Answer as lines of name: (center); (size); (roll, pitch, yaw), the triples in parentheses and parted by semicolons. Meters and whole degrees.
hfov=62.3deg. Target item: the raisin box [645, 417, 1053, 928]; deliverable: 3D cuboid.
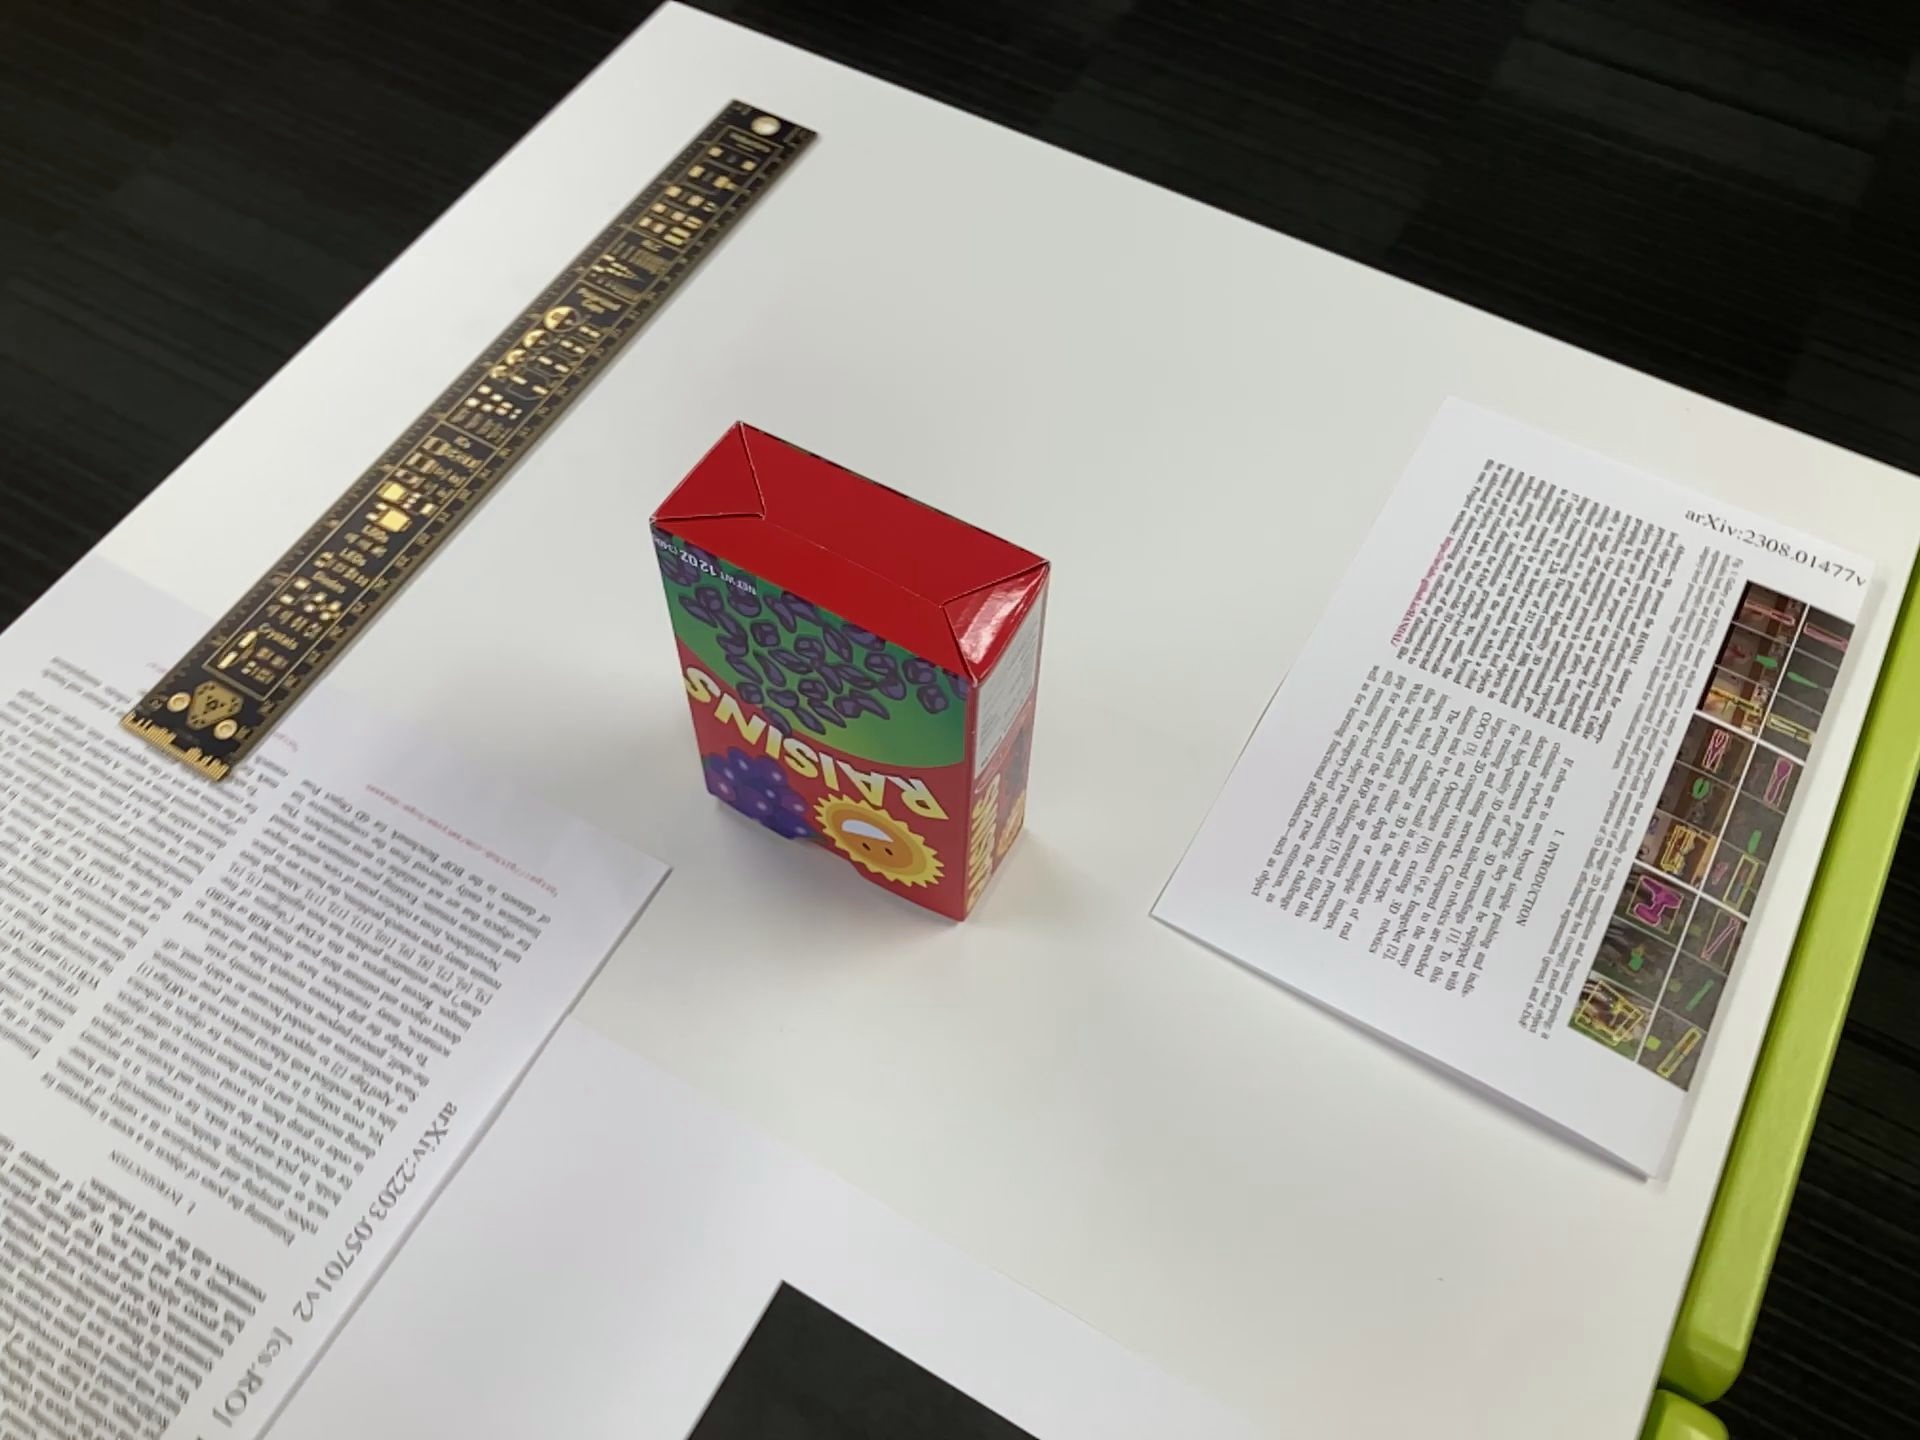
raisin box: (-0.026, -0.006, 0.396); (0.086, 0.123, 0.040); (26, 61, 14)
